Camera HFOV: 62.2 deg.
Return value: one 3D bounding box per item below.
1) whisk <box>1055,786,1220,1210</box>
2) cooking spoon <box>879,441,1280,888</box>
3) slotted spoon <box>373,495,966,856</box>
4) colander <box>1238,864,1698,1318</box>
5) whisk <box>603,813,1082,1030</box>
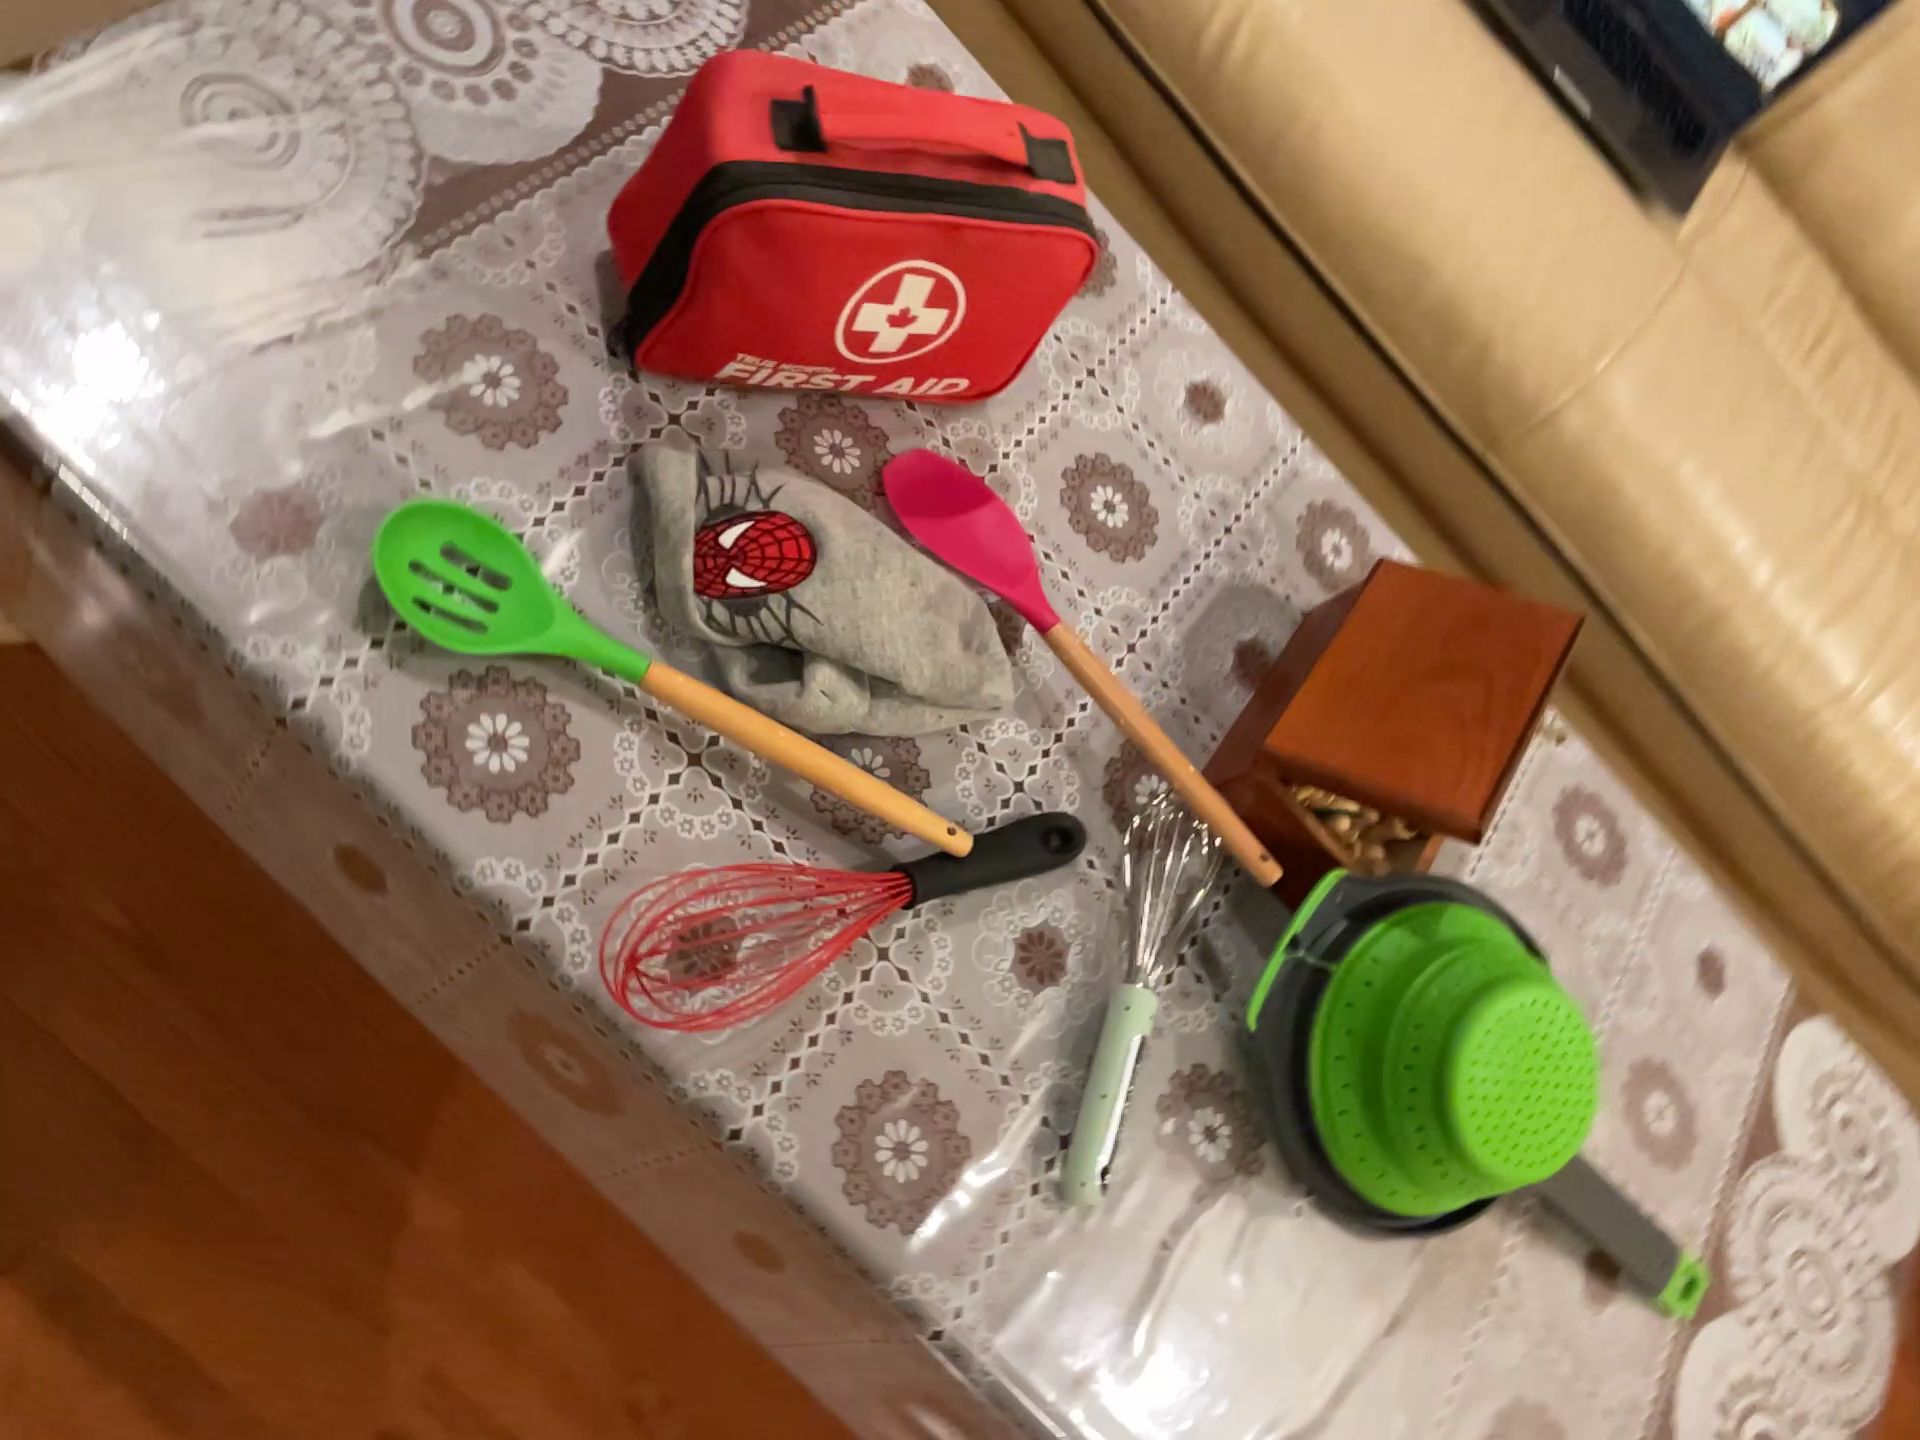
[{"bbox_3d":[0.091,0.141,0.847,0.058,0.059,0.246,9,59,17],"label":"whisk"},{"bbox_3d":[0.066,-0.032,0.880,0.069,0.017,0.319,-35,80,-36],"label":"cooking spoon"},{"bbox_3d":[-0.131,-0.010,0.757,0.313,0.031,0.070,30,57,-16],"label":"slotted spoon"},{"bbox_3d":[0.331,0.238,0.898,0.396,0.094,0.204,42,73,-20],"label":"colander"},{"bbox_3d":[-0.043,0.085,0.772,0.295,0.073,0.073,-13,71,-43],"label":"whisk"}]
